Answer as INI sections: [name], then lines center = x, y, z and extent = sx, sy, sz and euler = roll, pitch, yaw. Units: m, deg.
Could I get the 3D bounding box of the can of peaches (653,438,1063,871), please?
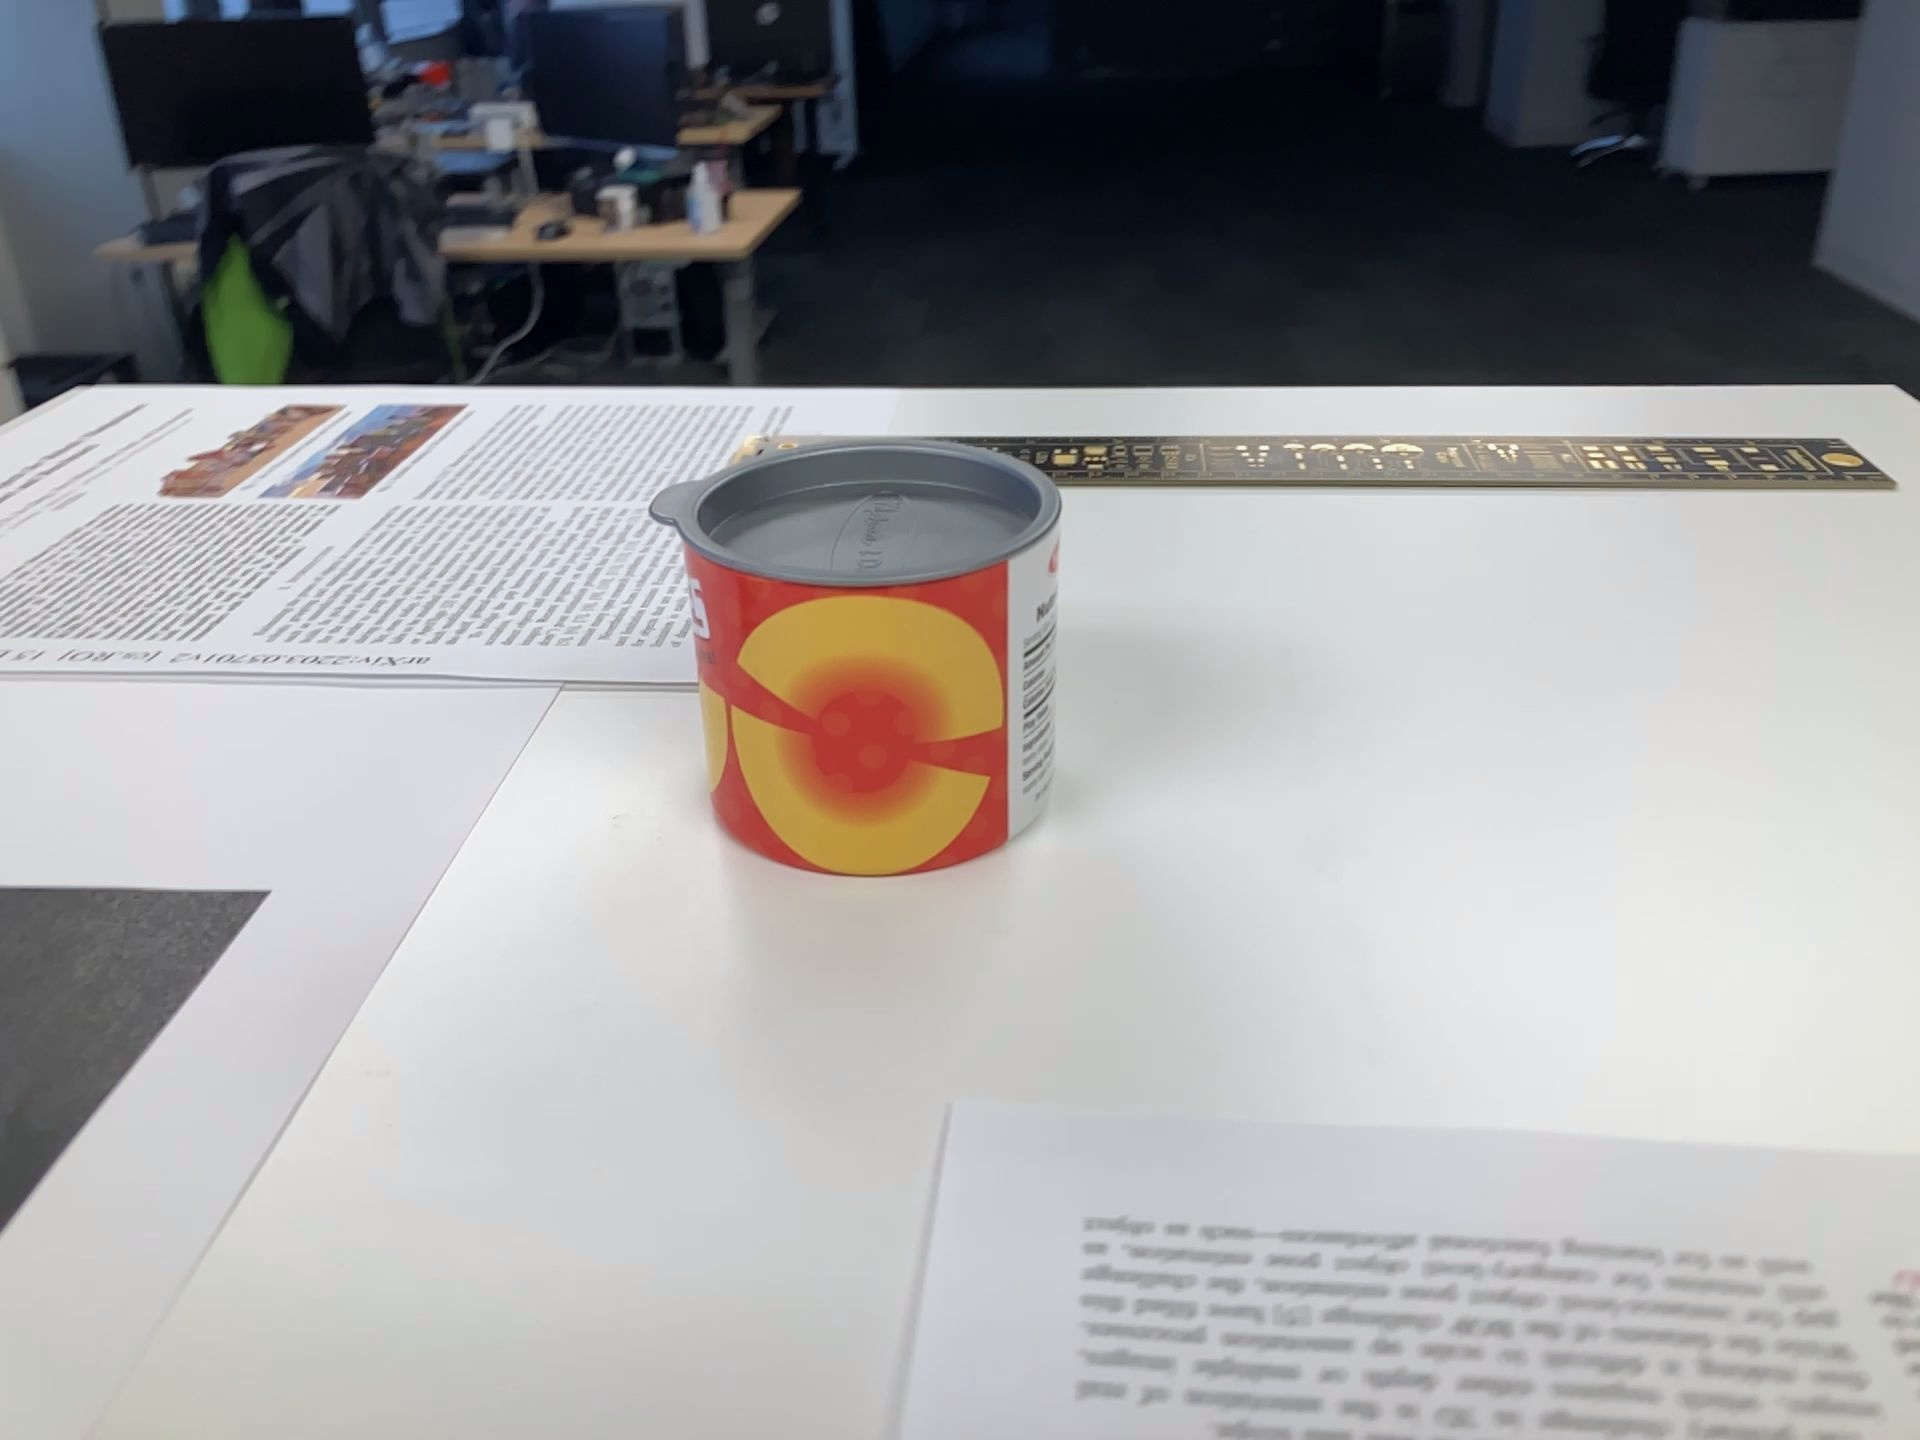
[can of peaches]
center = -0.017, -0.013, 0.288
extent = 0.071, 0.058, 0.071
euler = -2, 28, 1
